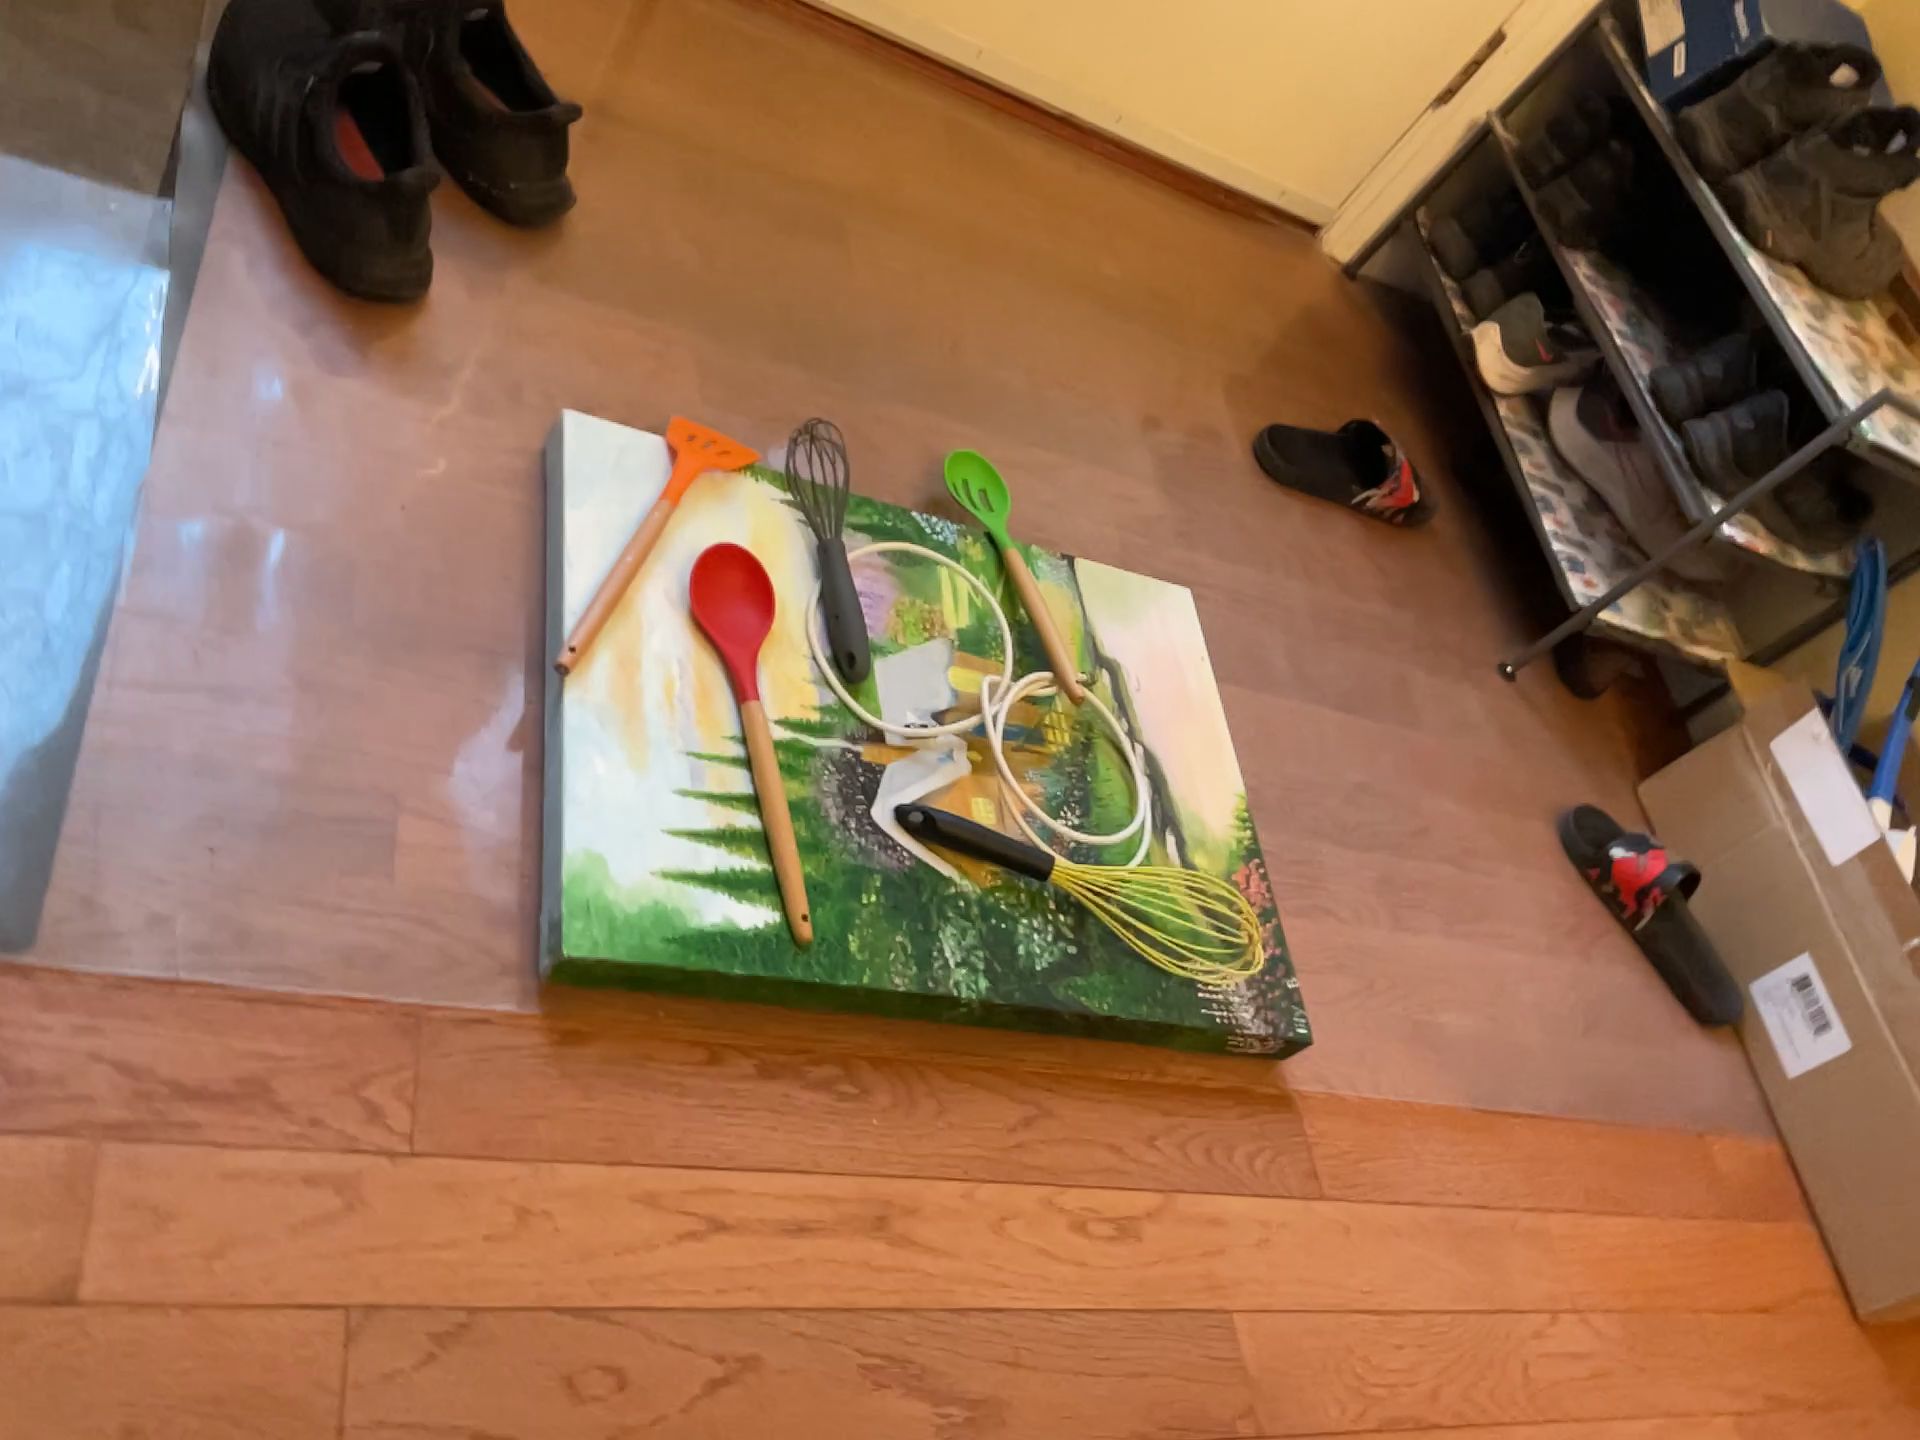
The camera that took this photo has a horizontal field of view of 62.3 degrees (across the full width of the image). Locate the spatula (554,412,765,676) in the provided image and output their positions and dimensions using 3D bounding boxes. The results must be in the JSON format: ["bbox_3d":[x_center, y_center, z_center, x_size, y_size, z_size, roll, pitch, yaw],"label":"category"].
[{"bbox_3d":[-0.230,-0.139,1.184,0.081,0.041,0.323,24,47,-5],"label":"spatula"}]

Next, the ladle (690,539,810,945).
[{"bbox_3d":[-0.141,0.010,1.120,0.069,0.031,0.316,4,58,-34],"label":"ladle"}]

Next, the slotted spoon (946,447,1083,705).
[{"bbox_3d":[0.048,-0.127,1.361,0.070,0.031,0.314,10,41,-32],"label":"slotted spoon"}]

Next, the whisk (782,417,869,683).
[{"bbox_3d":[-0.100,-0.137,1.252,0.055,0.055,0.239,-1,64,-25],"label":"whisk"}]

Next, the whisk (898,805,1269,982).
[{"bbox_3d":[0.094,0.124,1.194,0.311,0.067,0.080,22,41,-14],"label":"whisk"}]
